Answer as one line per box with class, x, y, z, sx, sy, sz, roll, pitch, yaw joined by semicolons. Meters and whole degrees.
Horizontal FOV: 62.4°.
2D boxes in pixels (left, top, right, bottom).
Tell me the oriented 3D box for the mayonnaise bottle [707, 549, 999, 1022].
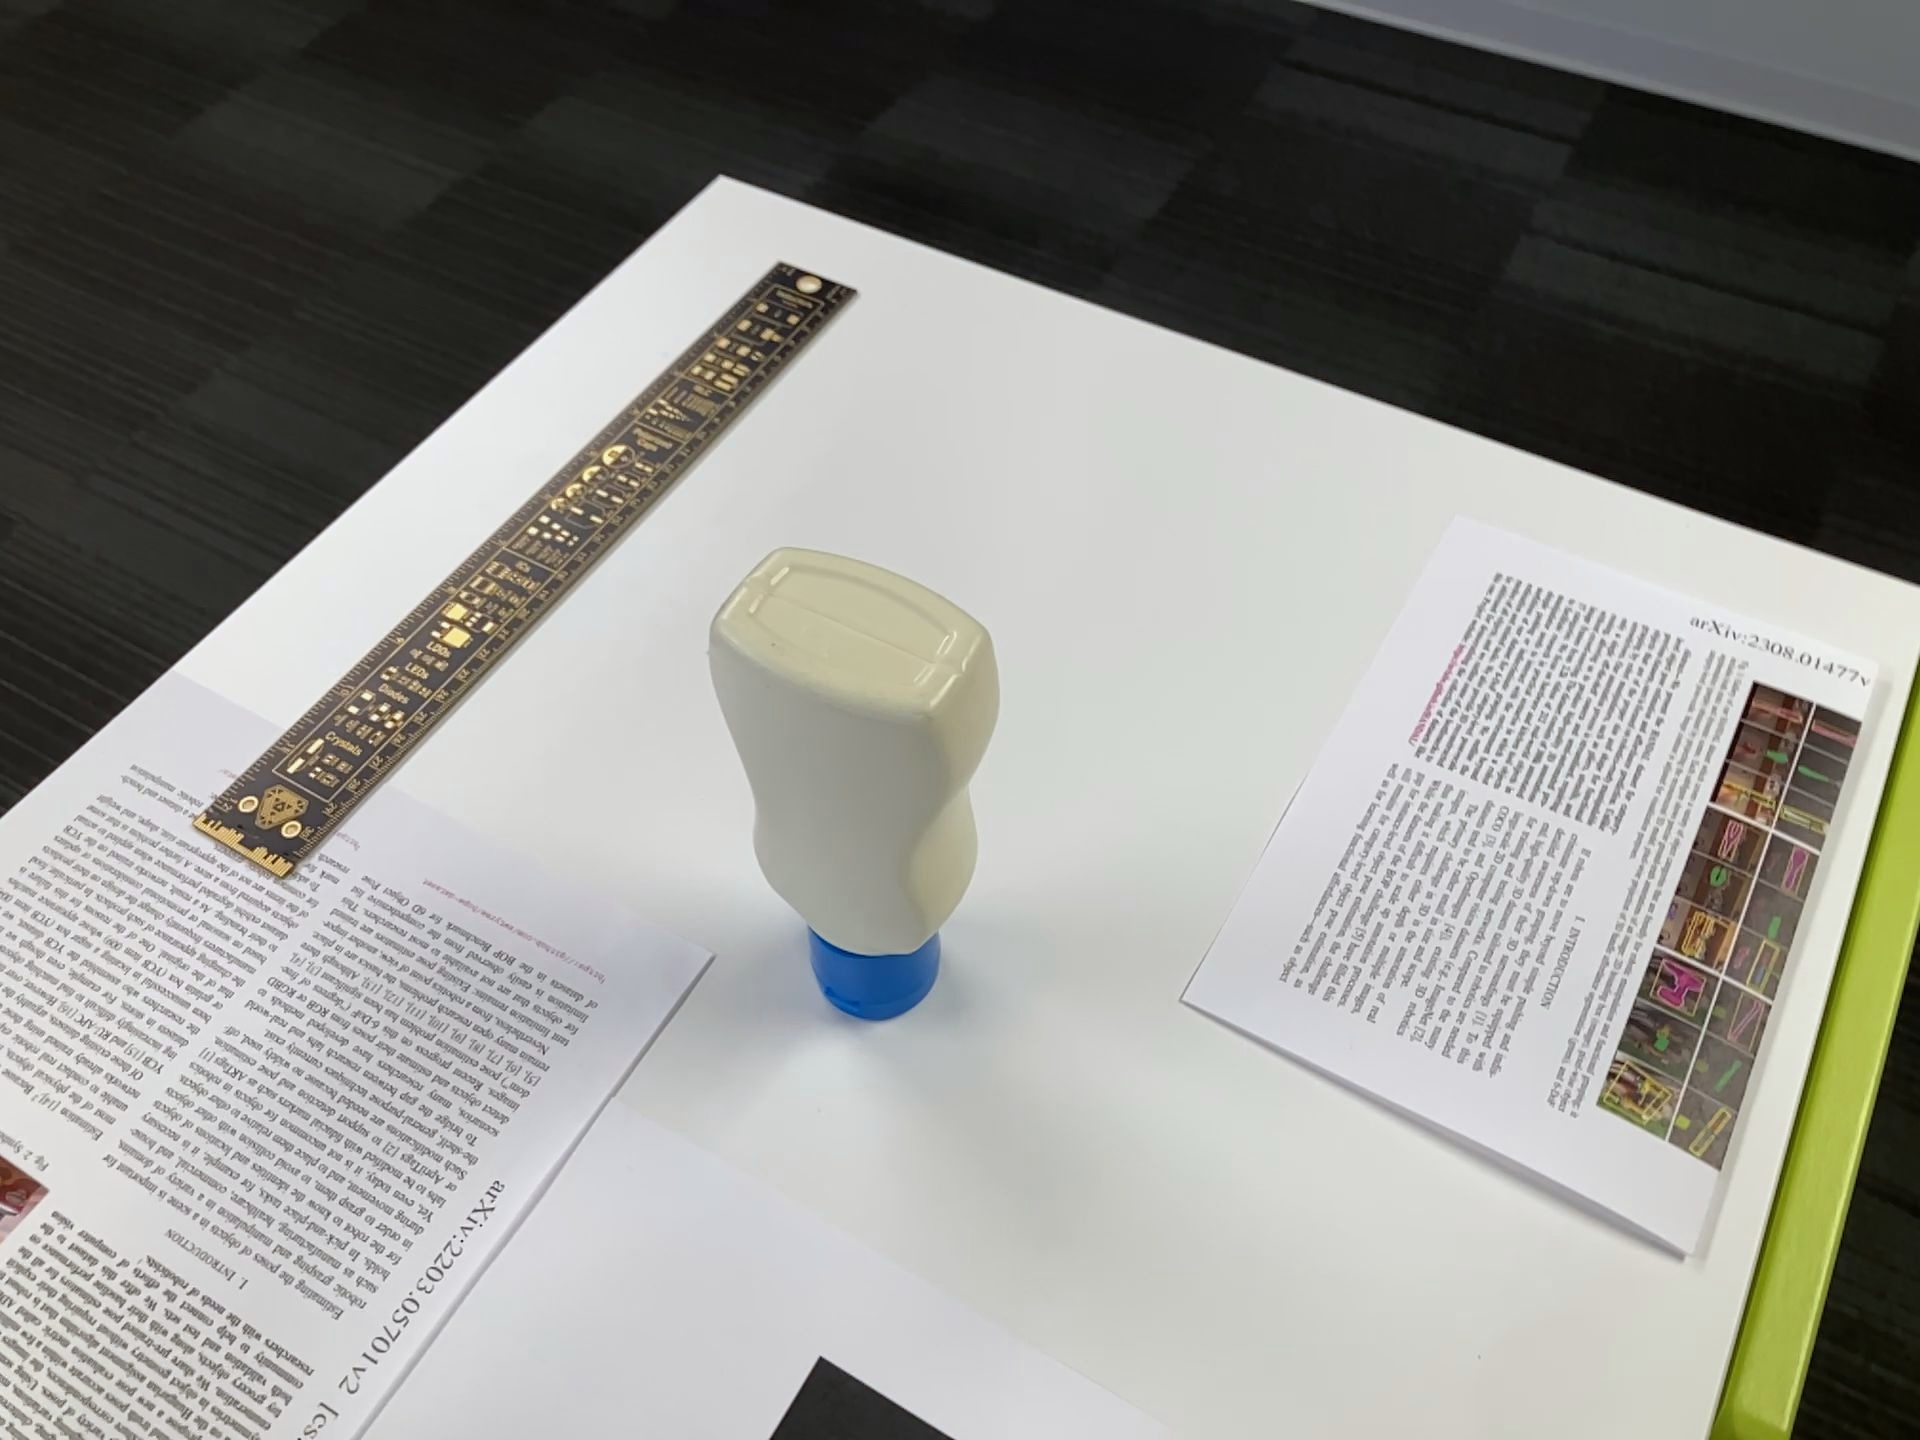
mayonnaise bottle;-0.024;0.025;0.395;0.065;0.148;0.041;24;56;17
